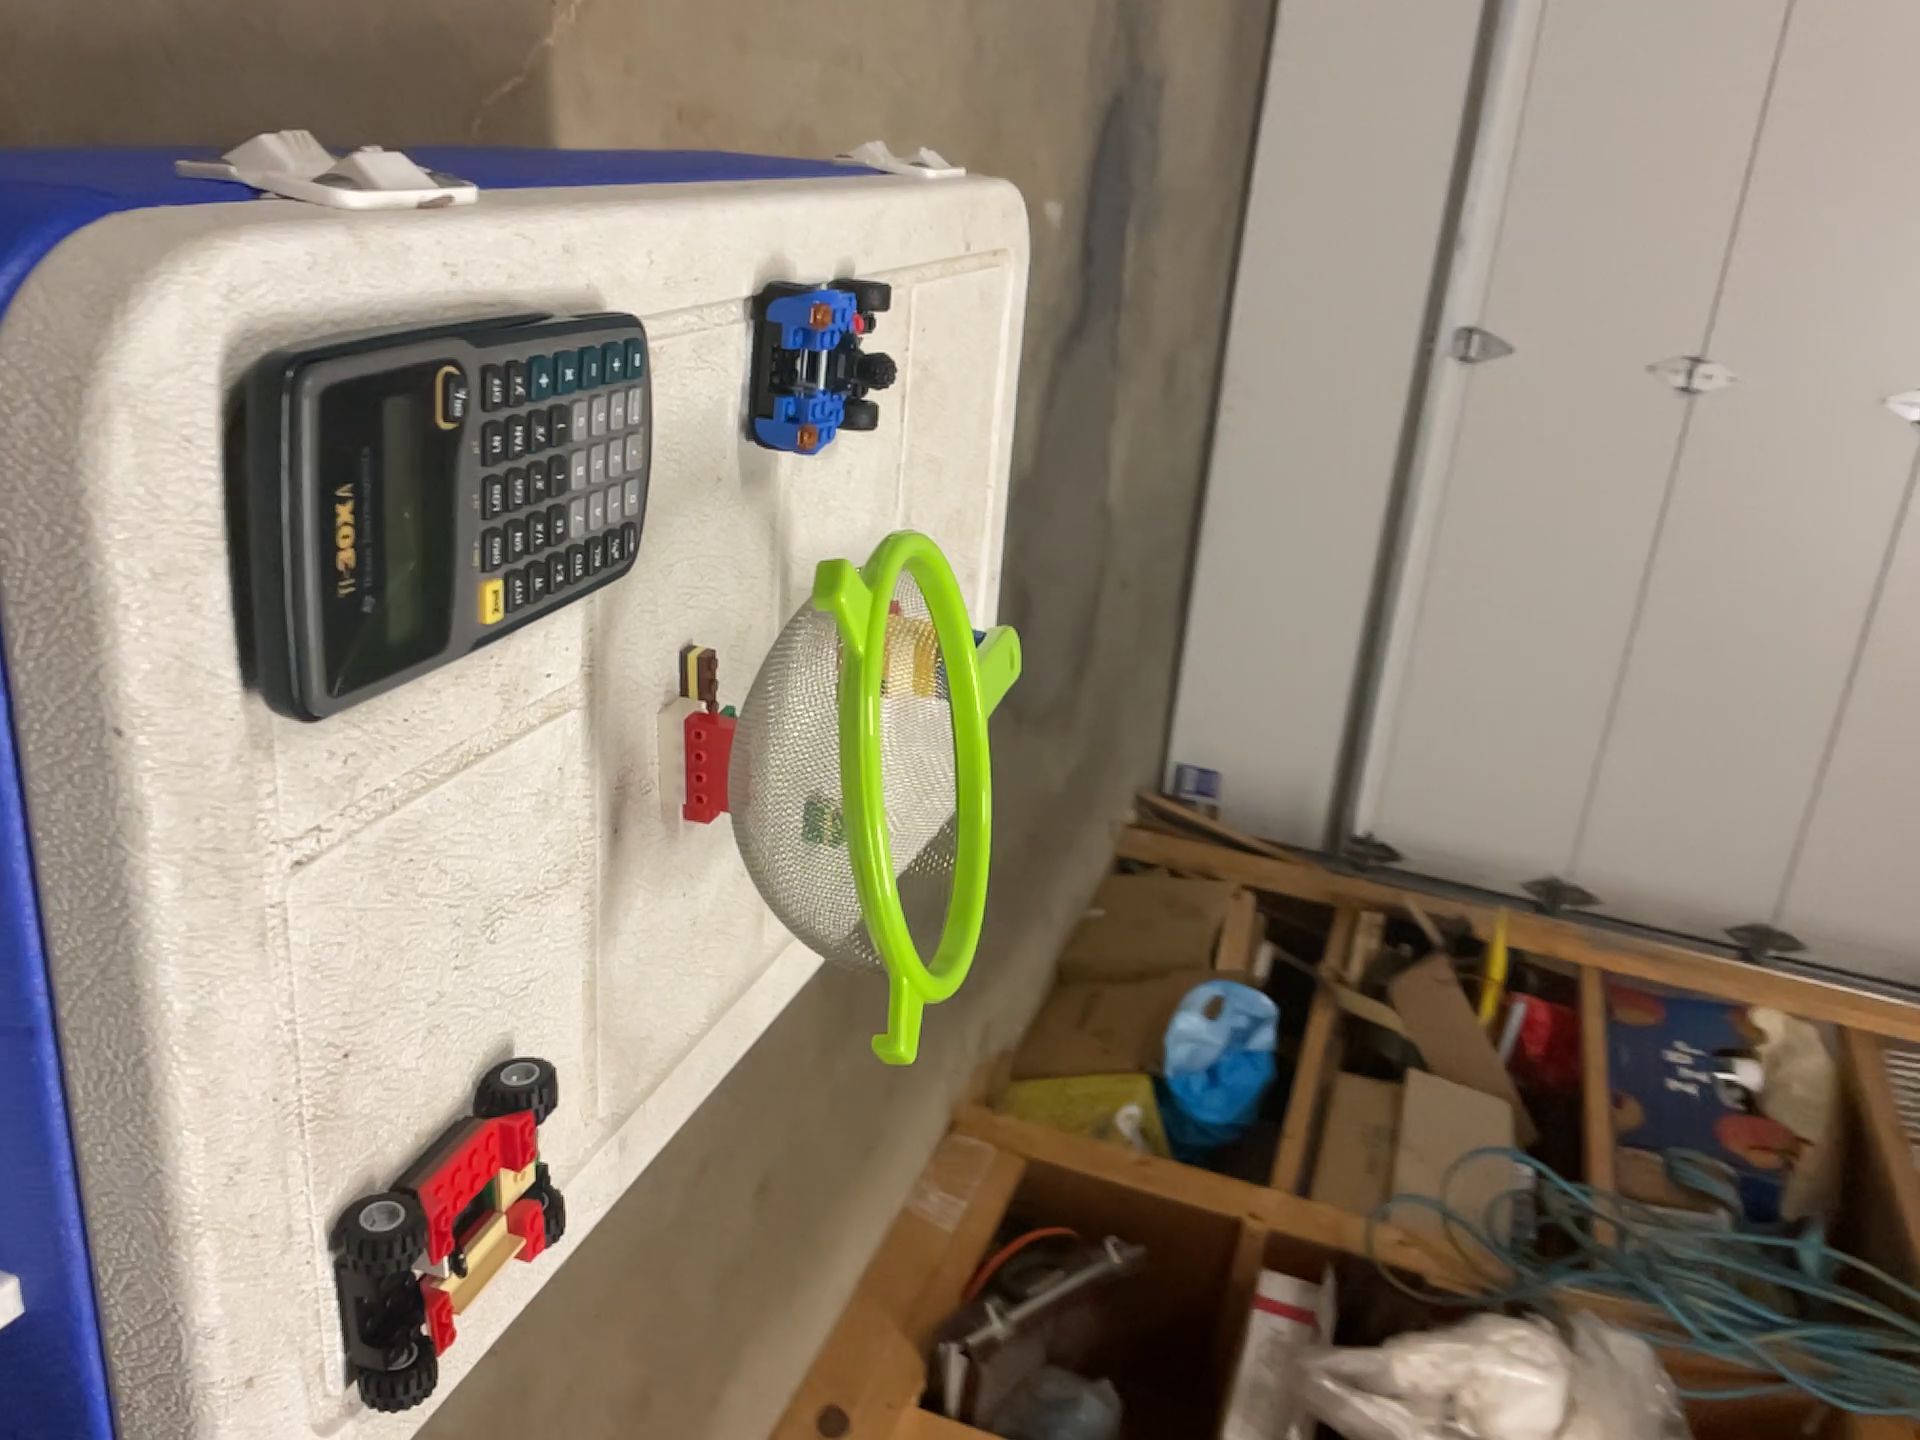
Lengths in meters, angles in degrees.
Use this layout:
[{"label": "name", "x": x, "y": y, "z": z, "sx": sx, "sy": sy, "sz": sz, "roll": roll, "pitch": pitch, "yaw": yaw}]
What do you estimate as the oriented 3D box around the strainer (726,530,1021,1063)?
[{"label": "strainer", "x": -0.028, "y": 0.003, "z": 0.570, "sx": 0.256, "sy": 0.069, "sz": 0.151, "roll": -54, "pitch": 139, "yaw": -72}]
